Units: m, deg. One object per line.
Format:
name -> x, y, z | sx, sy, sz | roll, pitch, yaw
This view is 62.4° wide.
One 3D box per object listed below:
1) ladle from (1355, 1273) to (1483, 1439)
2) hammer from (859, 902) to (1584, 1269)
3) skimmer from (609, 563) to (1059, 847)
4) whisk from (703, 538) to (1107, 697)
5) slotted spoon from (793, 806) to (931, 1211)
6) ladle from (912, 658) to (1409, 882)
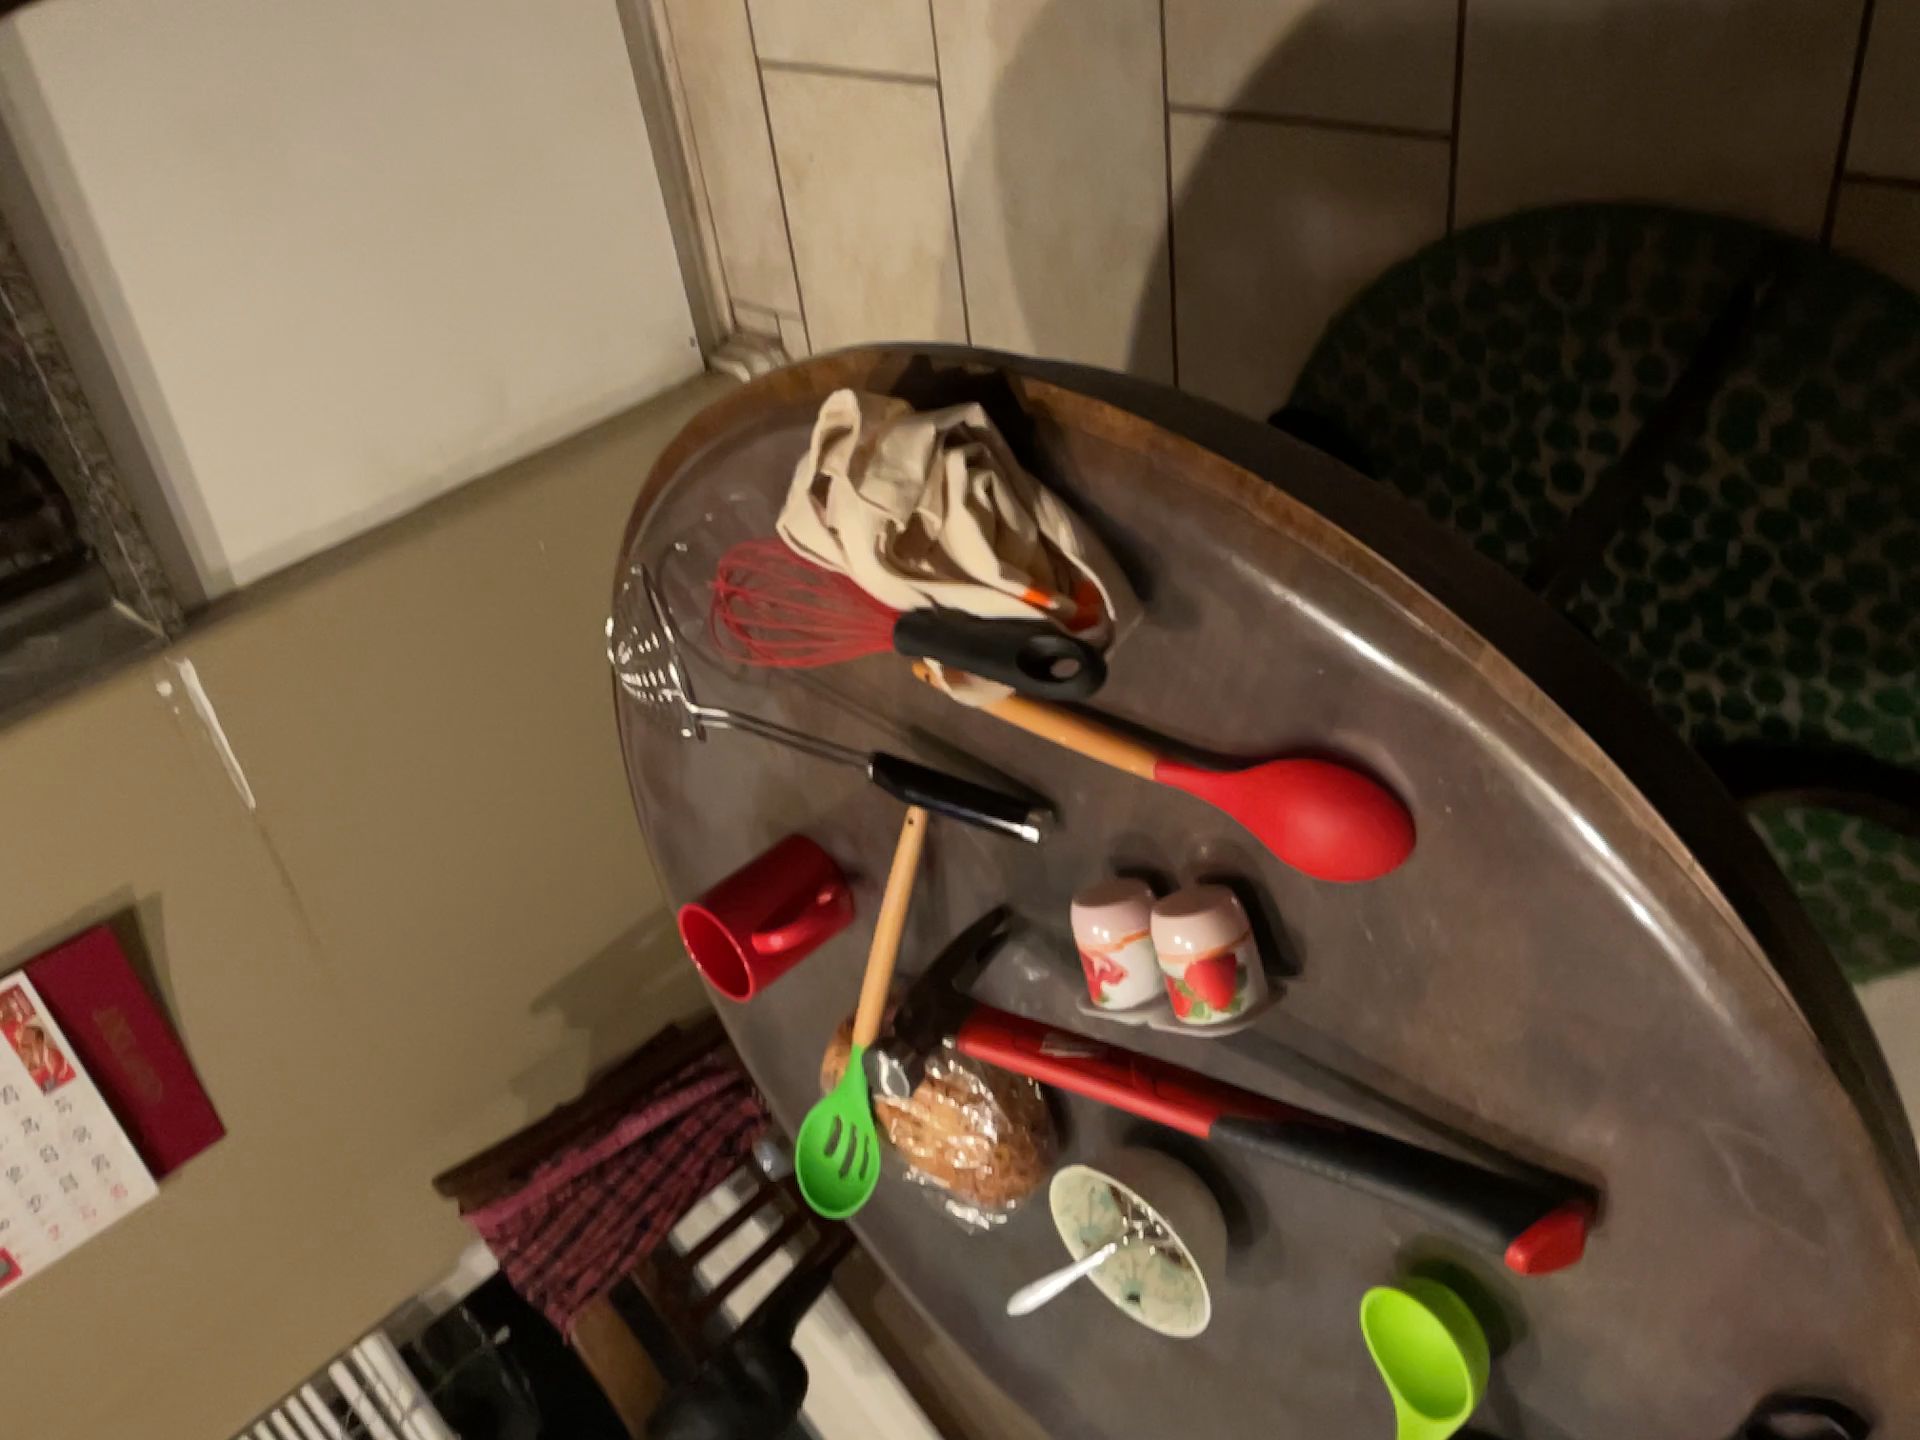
ladle -> 0.208, 0.455, 0.844 | 0.062, 0.320, 0.078 | 21, 174, -29
hammer -> 0.139, 0.197, 0.862 | 0.387, 0.143, 0.038 | 12, 130, 31
skimmer -> -0.085, -0.007, 1.002 | 0.364, 0.090, 0.127 | 18, 141, 28
whisk -> -0.040, -0.050, 0.824 | 0.296, 0.073, 0.073 | 15, 128, 43
slotted spoon -> -0.057, 0.189, 1.046 | 0.070, 0.031, 0.313 | 27, 115, 29
ladle -> 0.084, 0.014, 0.815 | 0.316, 0.031, 0.069 | 23, 135, 41
